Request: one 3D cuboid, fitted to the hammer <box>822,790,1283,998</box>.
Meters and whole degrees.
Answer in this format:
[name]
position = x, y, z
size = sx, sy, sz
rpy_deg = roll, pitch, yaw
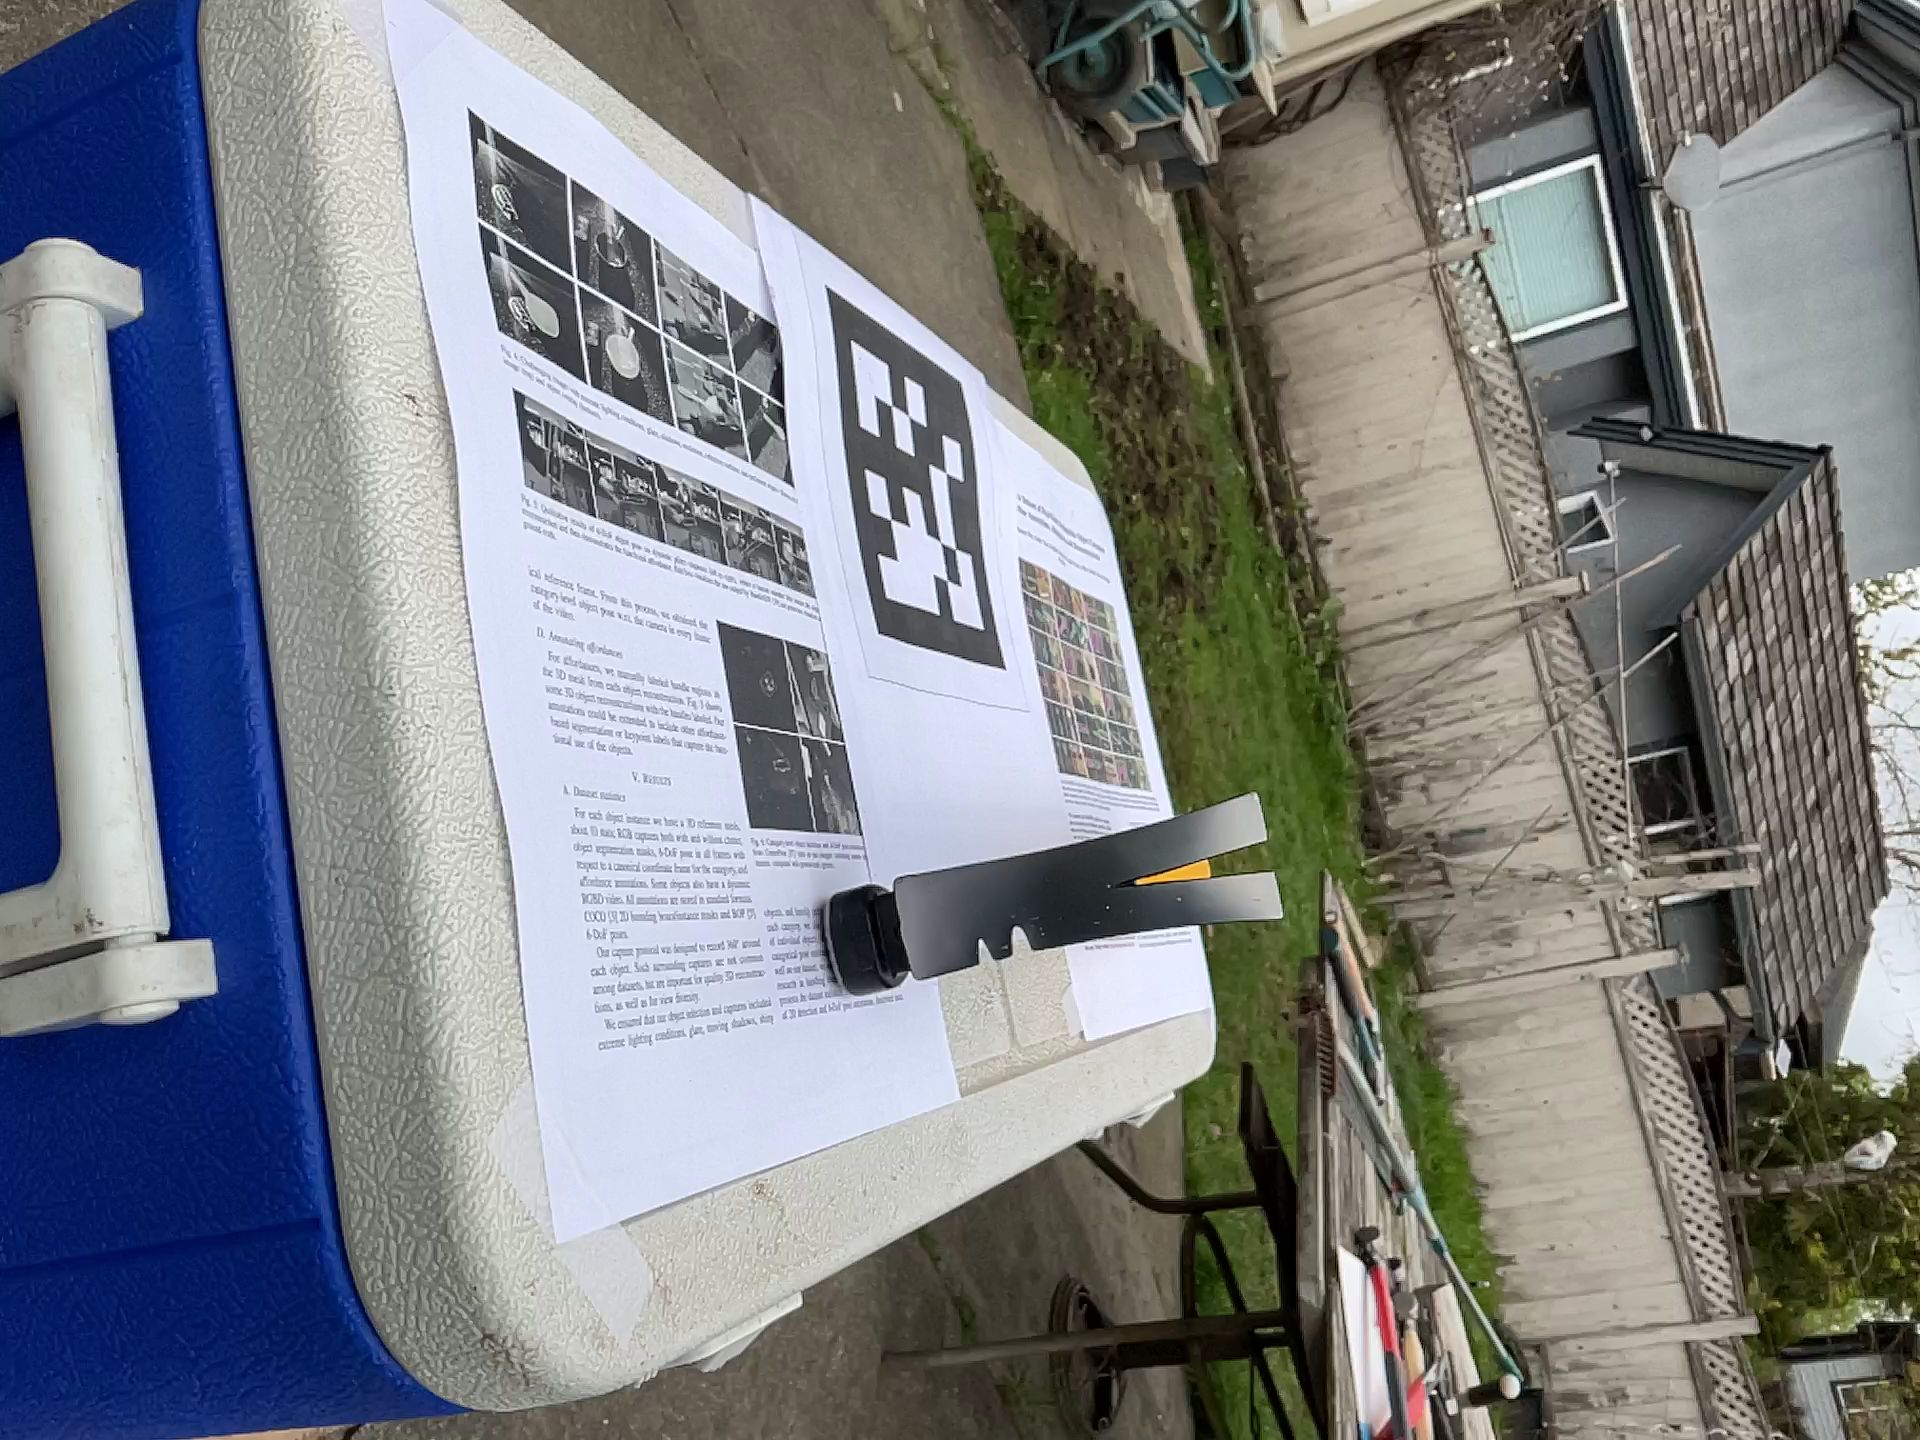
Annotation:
[hammer]
position = 0.064, 0.060, 0.593
size = 0.336, 0.127, 0.034
rpy_deg = 14, 63, -74
